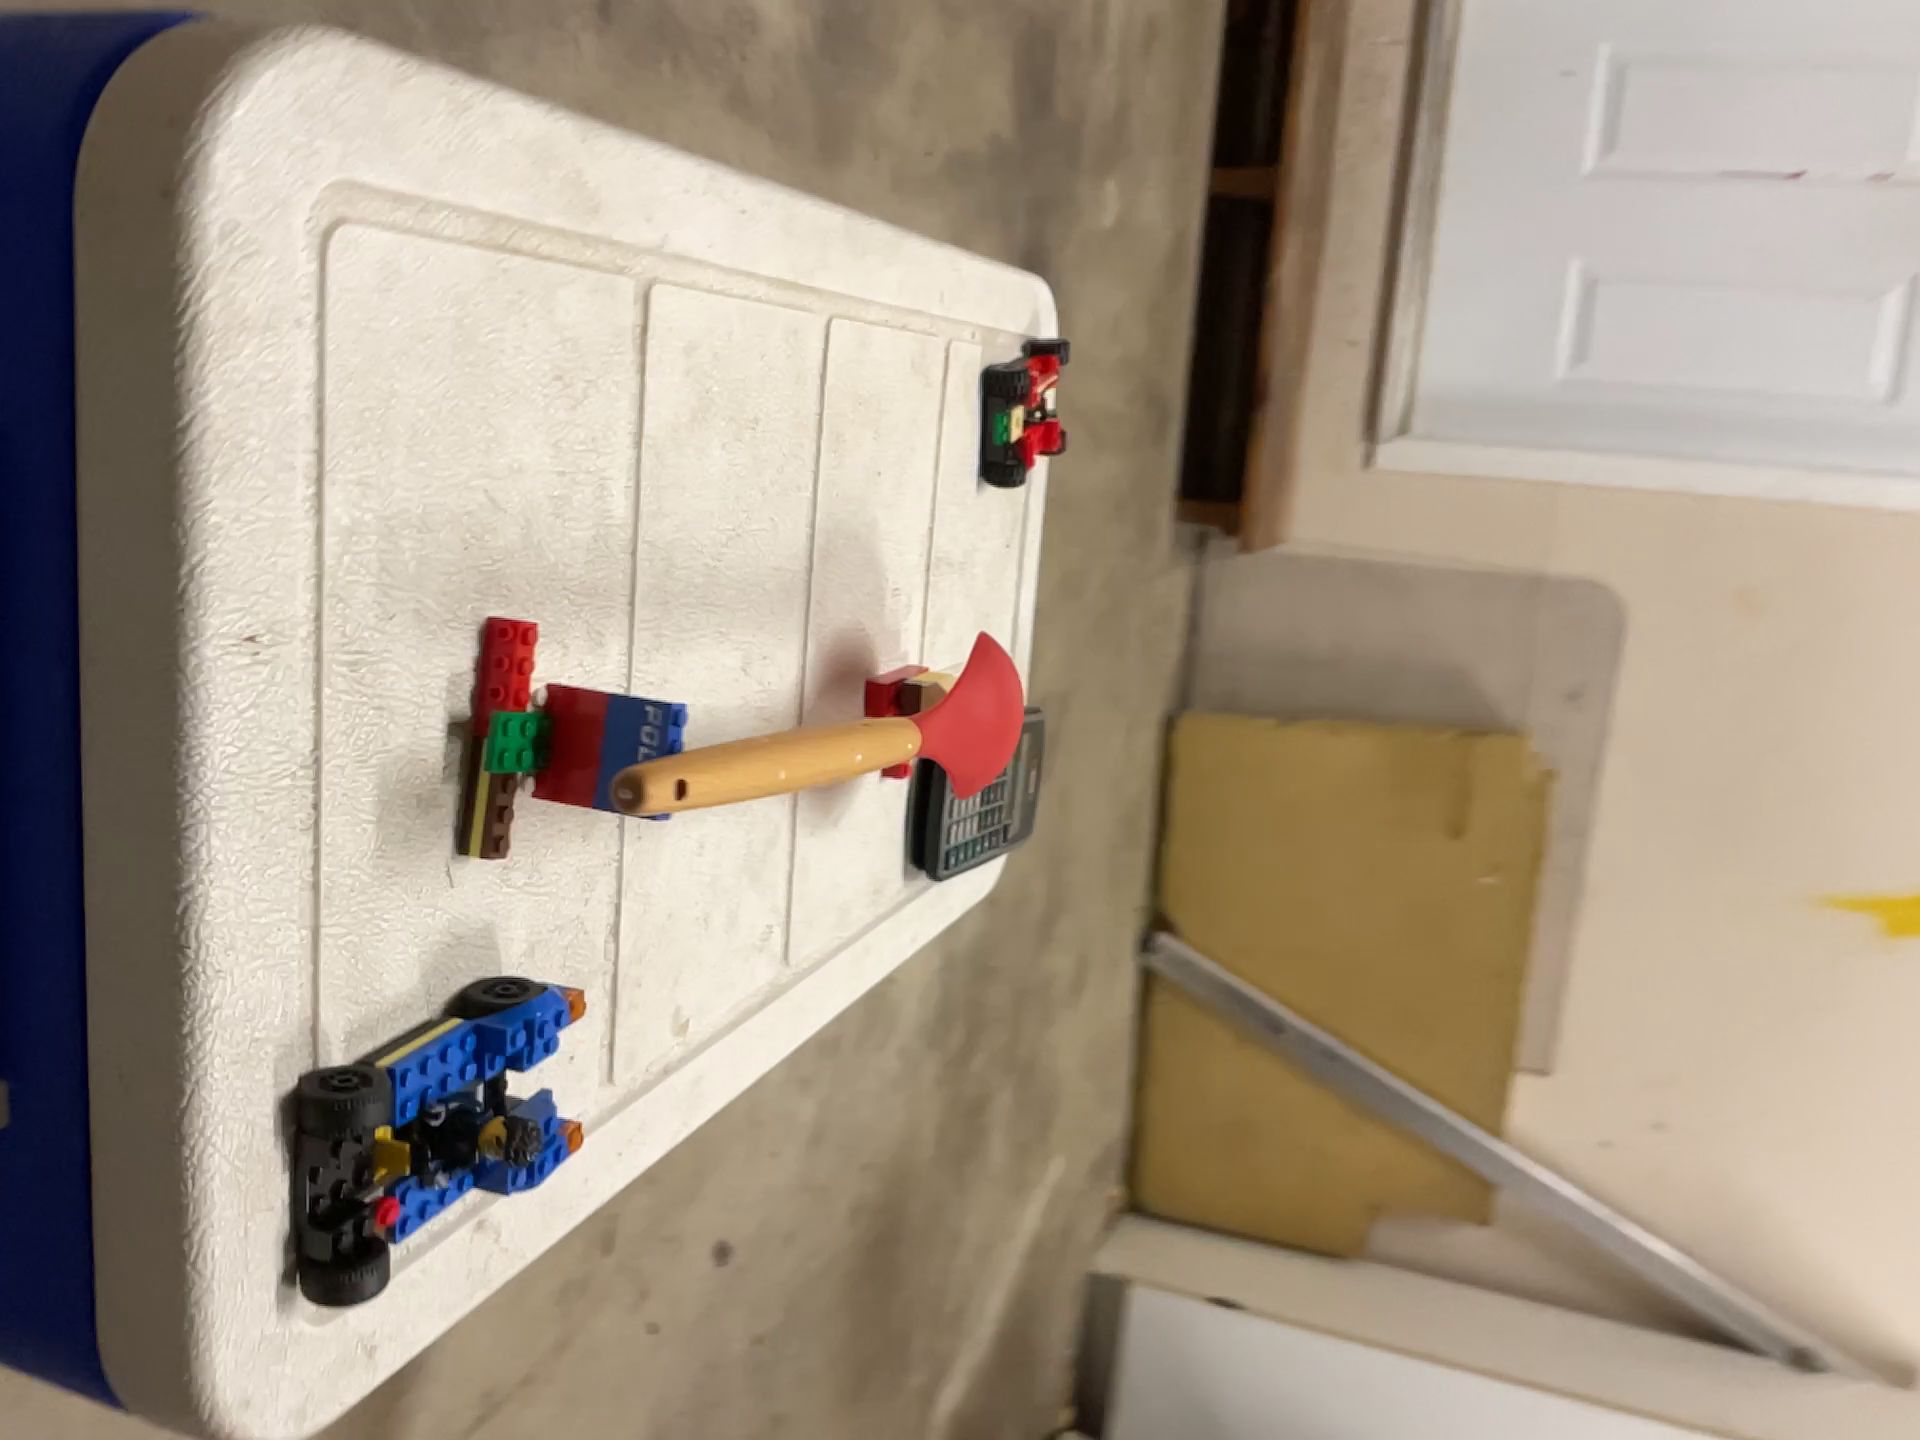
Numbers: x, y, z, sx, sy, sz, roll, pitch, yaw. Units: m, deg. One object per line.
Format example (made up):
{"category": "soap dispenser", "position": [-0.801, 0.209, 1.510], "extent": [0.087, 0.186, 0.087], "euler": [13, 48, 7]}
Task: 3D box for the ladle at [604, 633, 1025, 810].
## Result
{"category": "ladle", "position": [-0.030, 0.007, 0.535], "extent": [0.315, 0.031, 0.069], "euler": [-10, 108, -70]}
